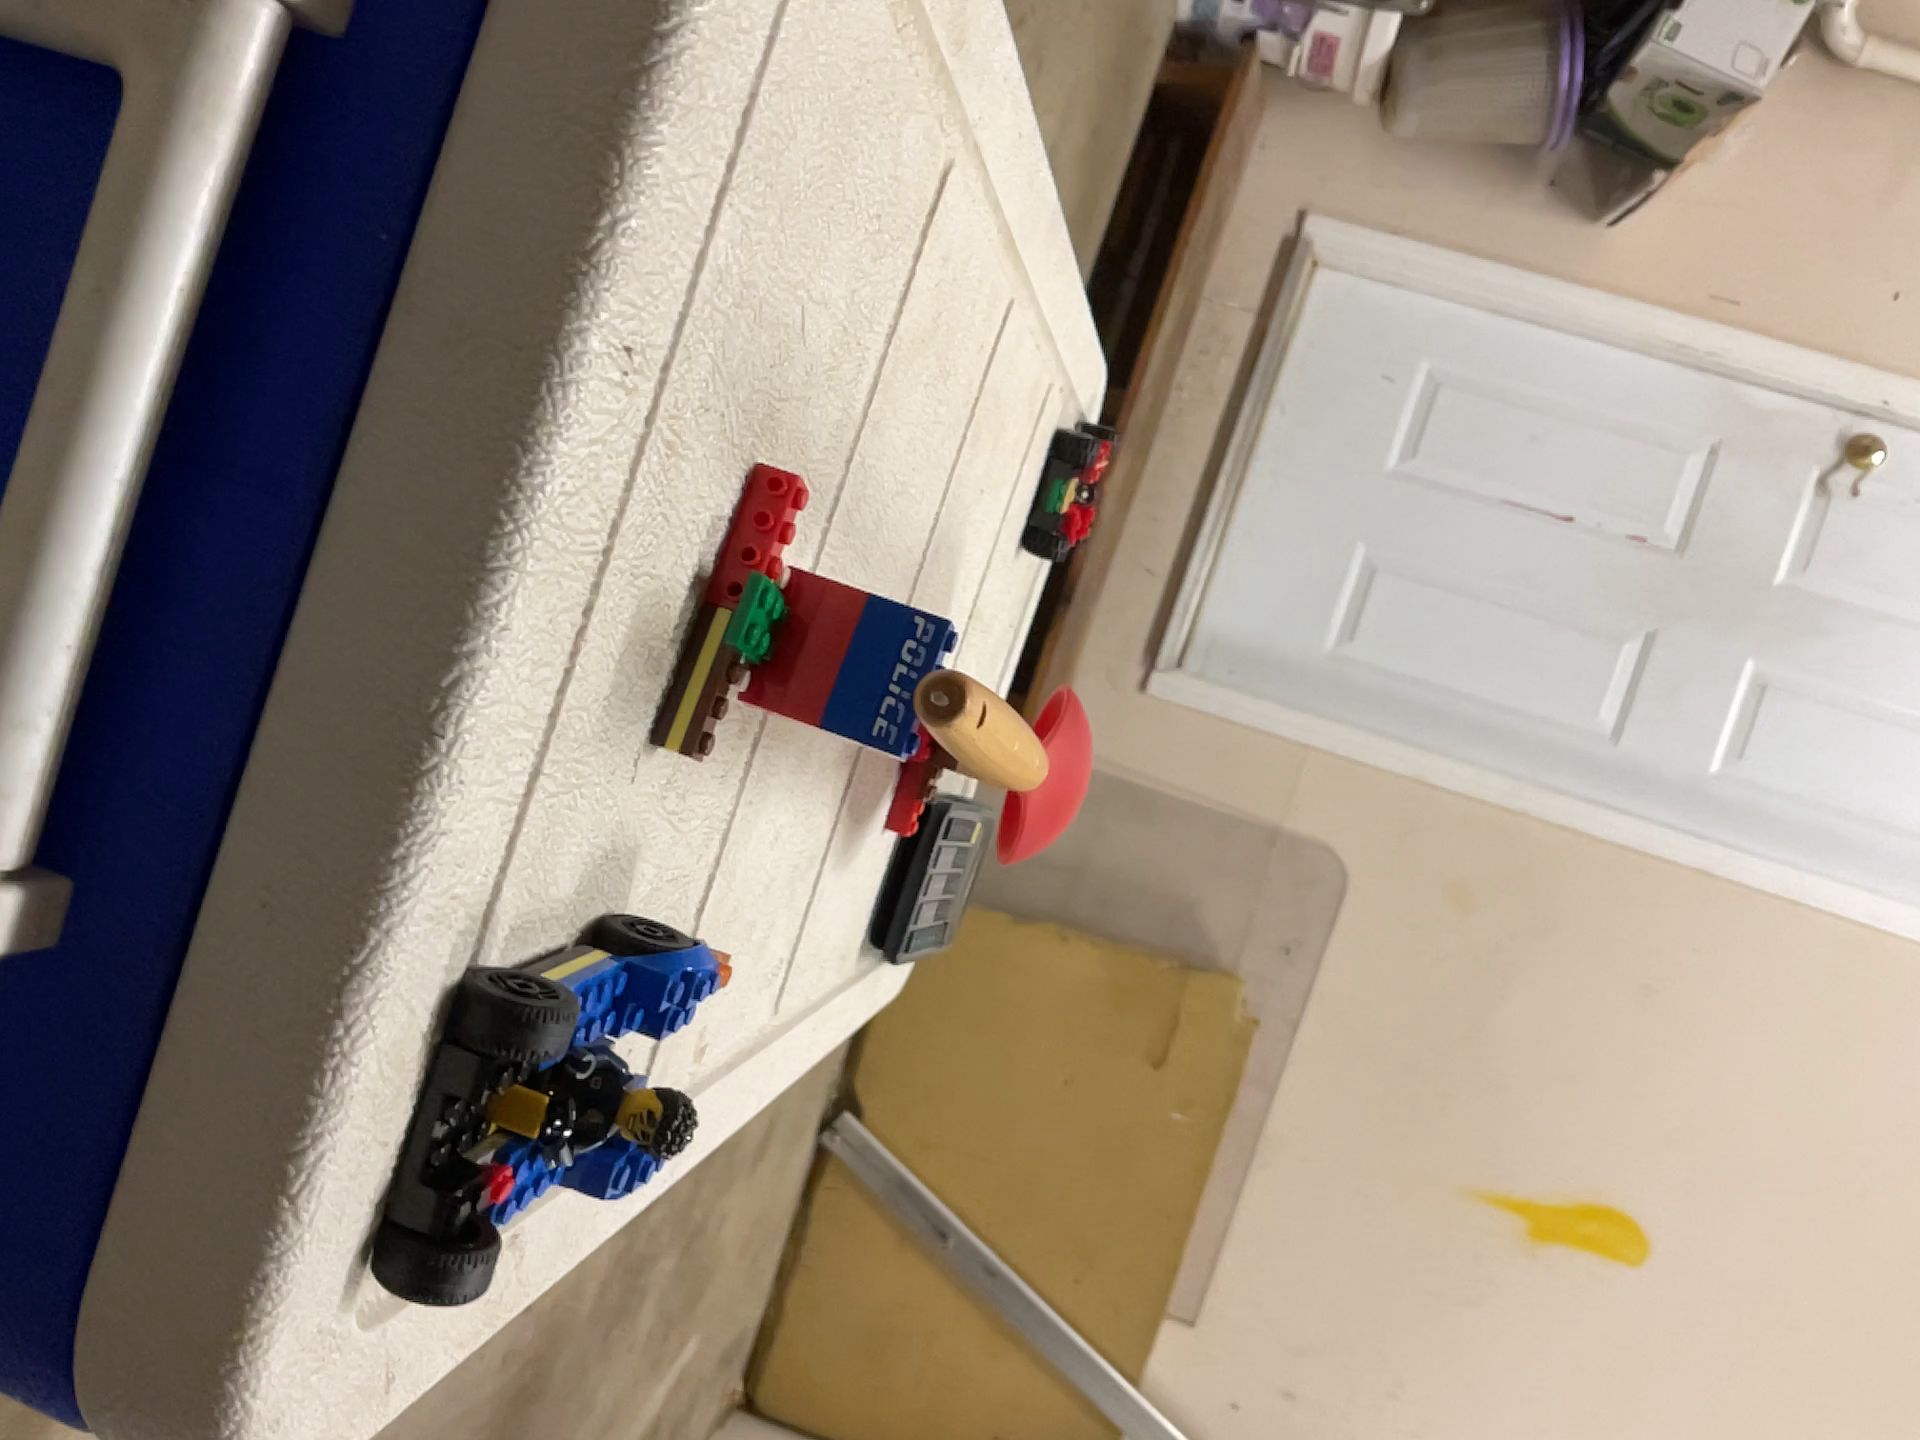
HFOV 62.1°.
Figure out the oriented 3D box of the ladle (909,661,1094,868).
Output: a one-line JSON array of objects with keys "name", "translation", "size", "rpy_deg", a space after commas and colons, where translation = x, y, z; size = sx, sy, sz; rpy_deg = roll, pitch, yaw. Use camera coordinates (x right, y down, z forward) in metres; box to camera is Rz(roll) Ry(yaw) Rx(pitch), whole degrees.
[{"name": "ladle", "translation": [0.015, 0.010, 0.460], "size": [0.315, 0.031, 0.069], "rpy_deg": [39, 71, -81]}]
